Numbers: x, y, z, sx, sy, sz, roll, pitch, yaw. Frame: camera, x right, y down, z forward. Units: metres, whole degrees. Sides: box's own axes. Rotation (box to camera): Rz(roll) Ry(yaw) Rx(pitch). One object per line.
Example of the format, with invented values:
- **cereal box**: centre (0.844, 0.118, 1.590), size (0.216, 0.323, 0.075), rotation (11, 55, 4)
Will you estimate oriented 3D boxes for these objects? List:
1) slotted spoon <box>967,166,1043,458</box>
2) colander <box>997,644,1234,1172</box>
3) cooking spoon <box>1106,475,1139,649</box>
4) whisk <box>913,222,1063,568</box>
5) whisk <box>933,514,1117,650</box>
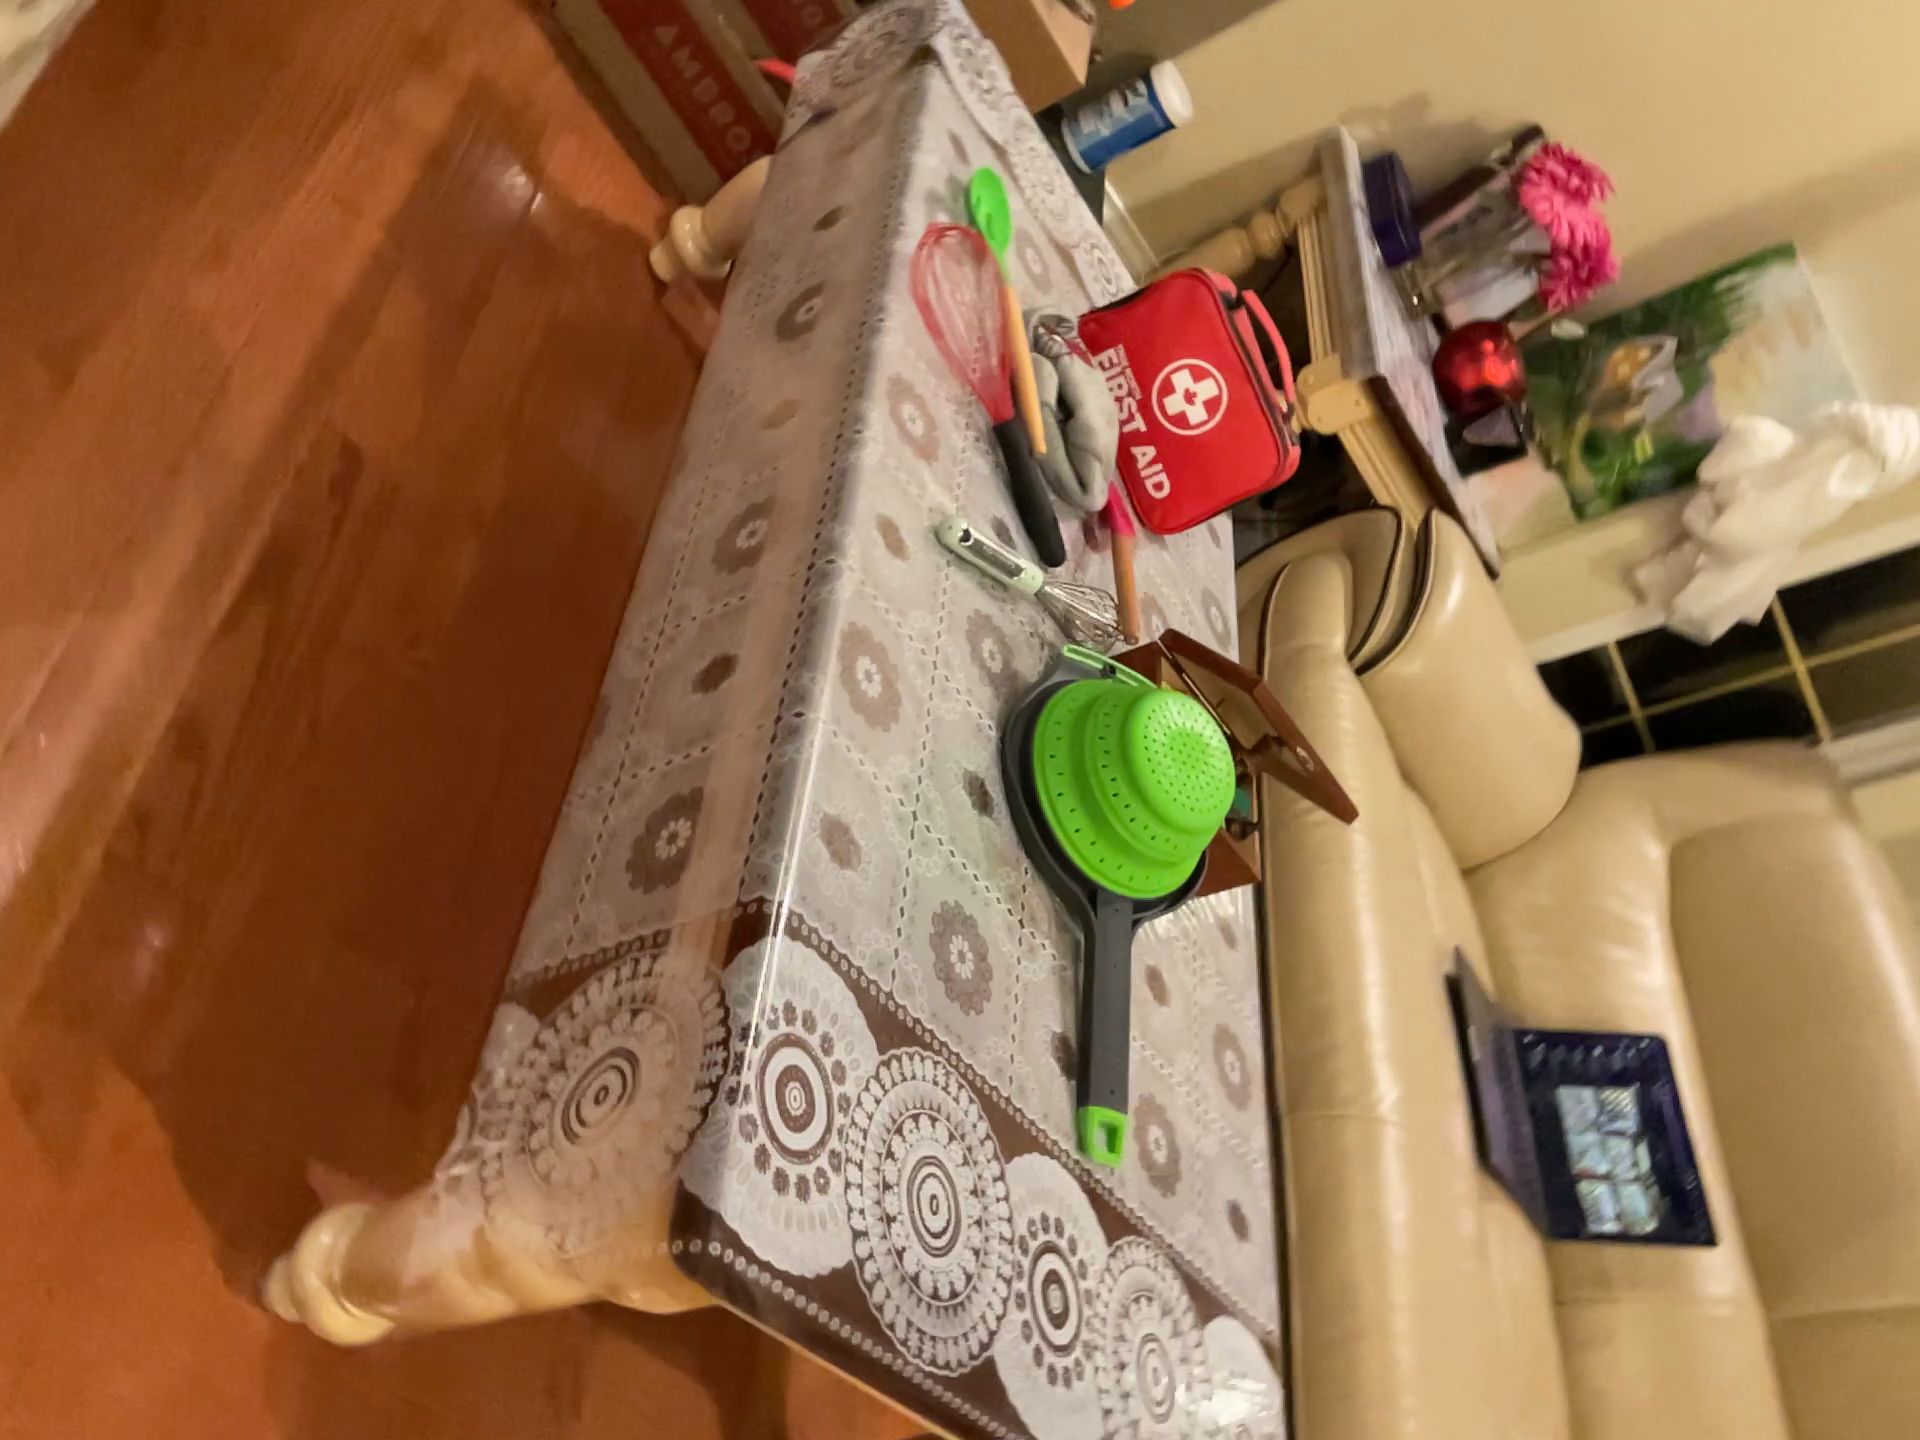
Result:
- **slotted spoon**: centre (0.042, -0.358, 1.389), size (0.070, 0.031, 0.314), rotation (31, 43, -51)
- **colander**: centre (0.128, 0.115, 1.135), size (0.204, 0.094, 0.397), rotation (23, 57, -30)
- **cooking spoon**: centre (0.142, -0.148, 1.408), size (0.068, 0.017, 0.319), rotation (54, 20, -26)
- **whisk**: centre (0.030, -0.262, 1.301), size (0.073, 0.073, 0.295), rotation (-57, 129, -65)
- **whisk**: centre (0.054, -0.106, 1.260), size (0.058, 0.059, 0.246), rotation (37, 6, 40)
